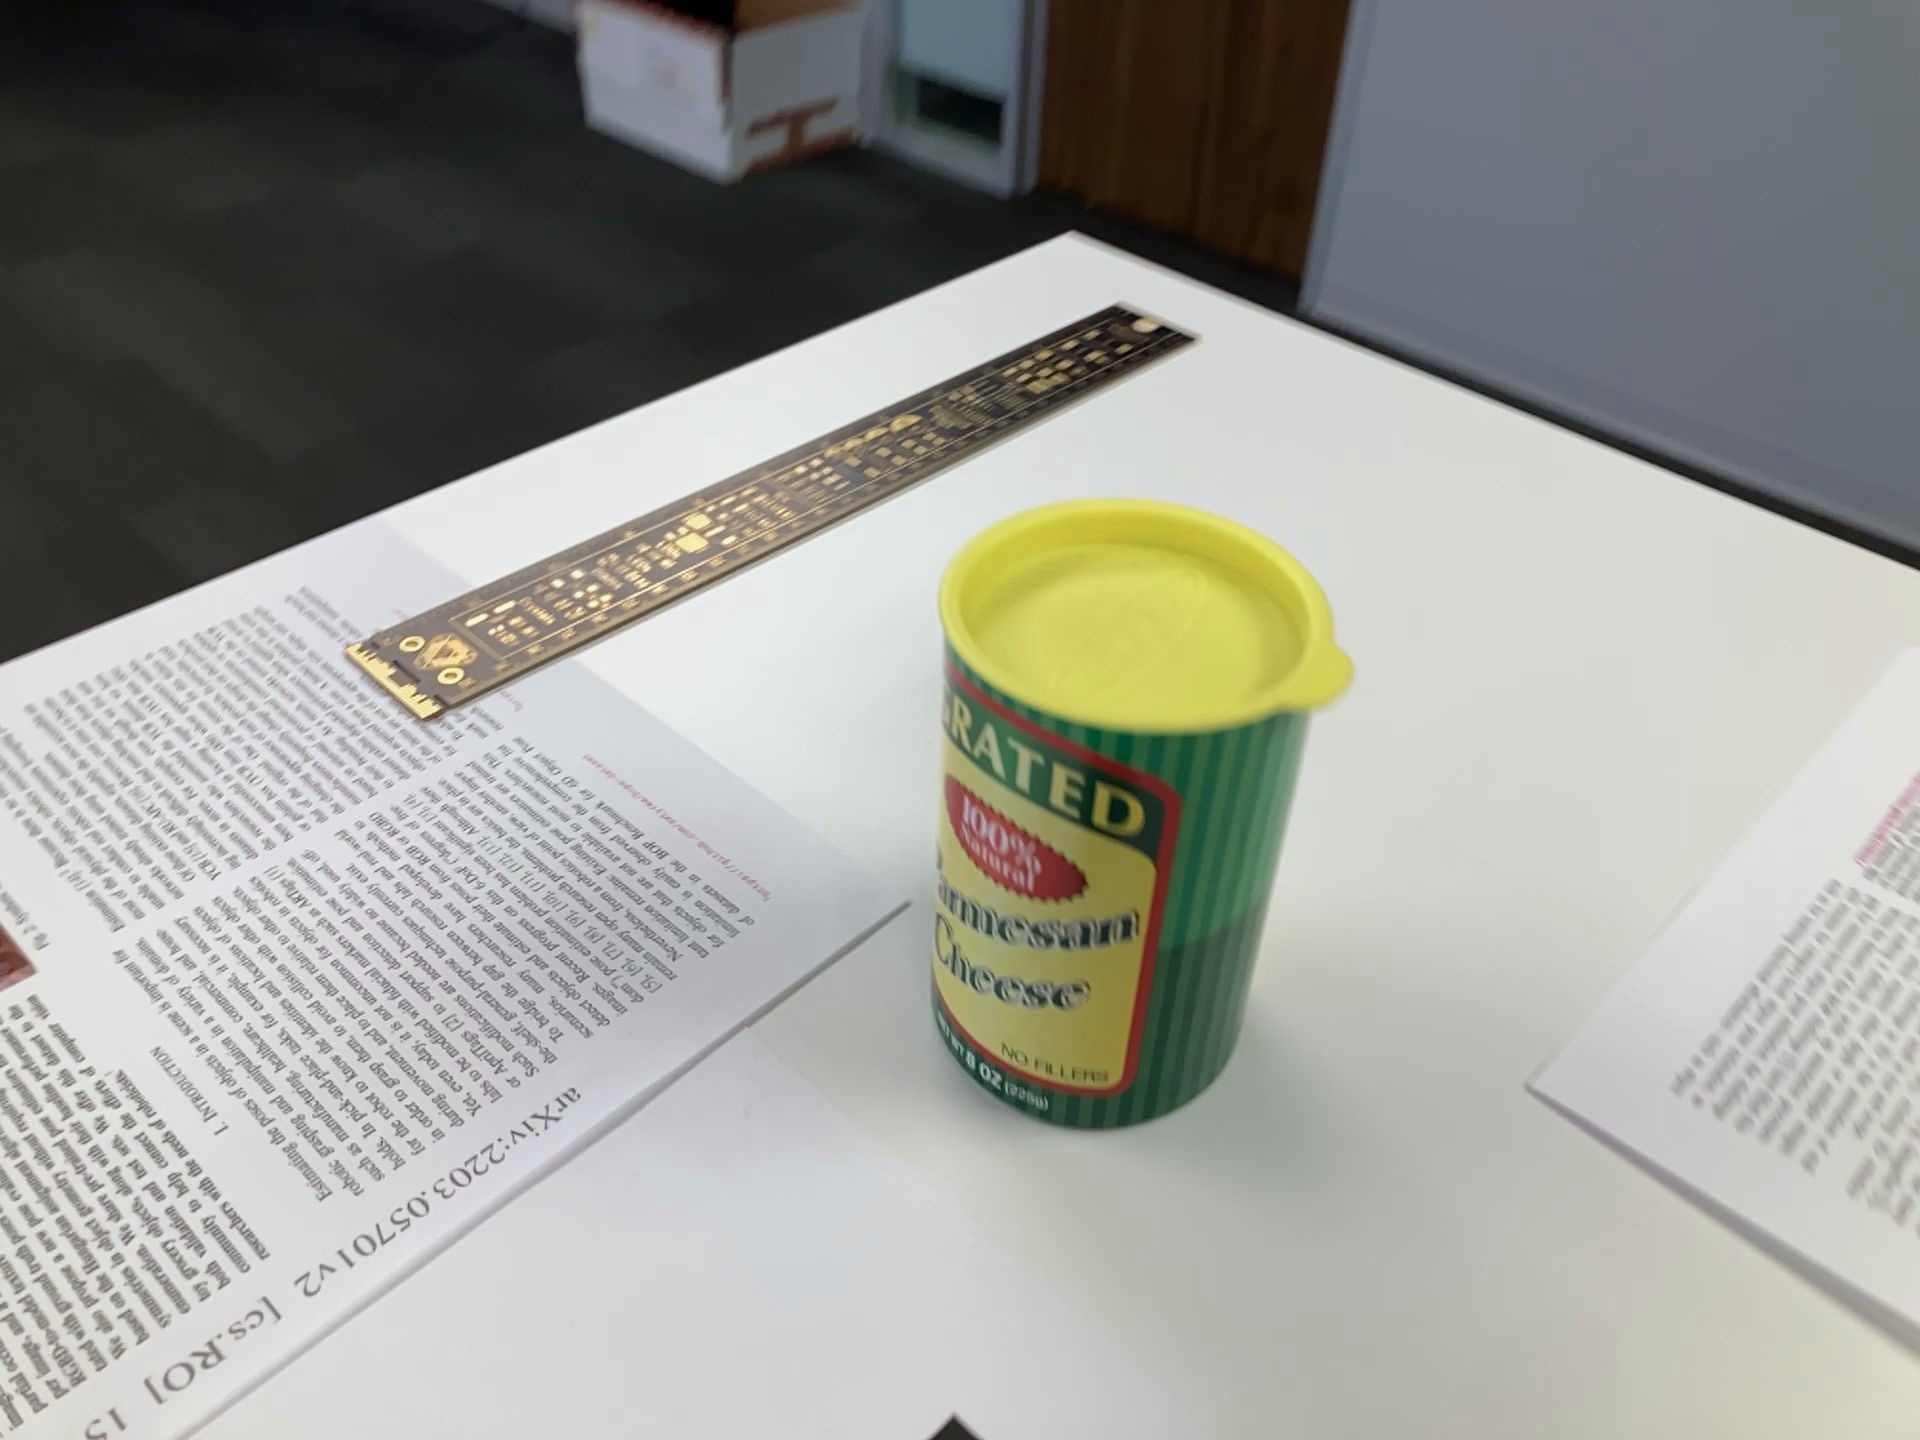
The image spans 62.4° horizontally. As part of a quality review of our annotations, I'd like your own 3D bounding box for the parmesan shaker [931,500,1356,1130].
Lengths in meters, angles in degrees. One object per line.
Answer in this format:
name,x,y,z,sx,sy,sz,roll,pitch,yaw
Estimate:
parmesan shaker,0.030,0.021,0.296,0.071,0.103,0.071,1,39,-1
